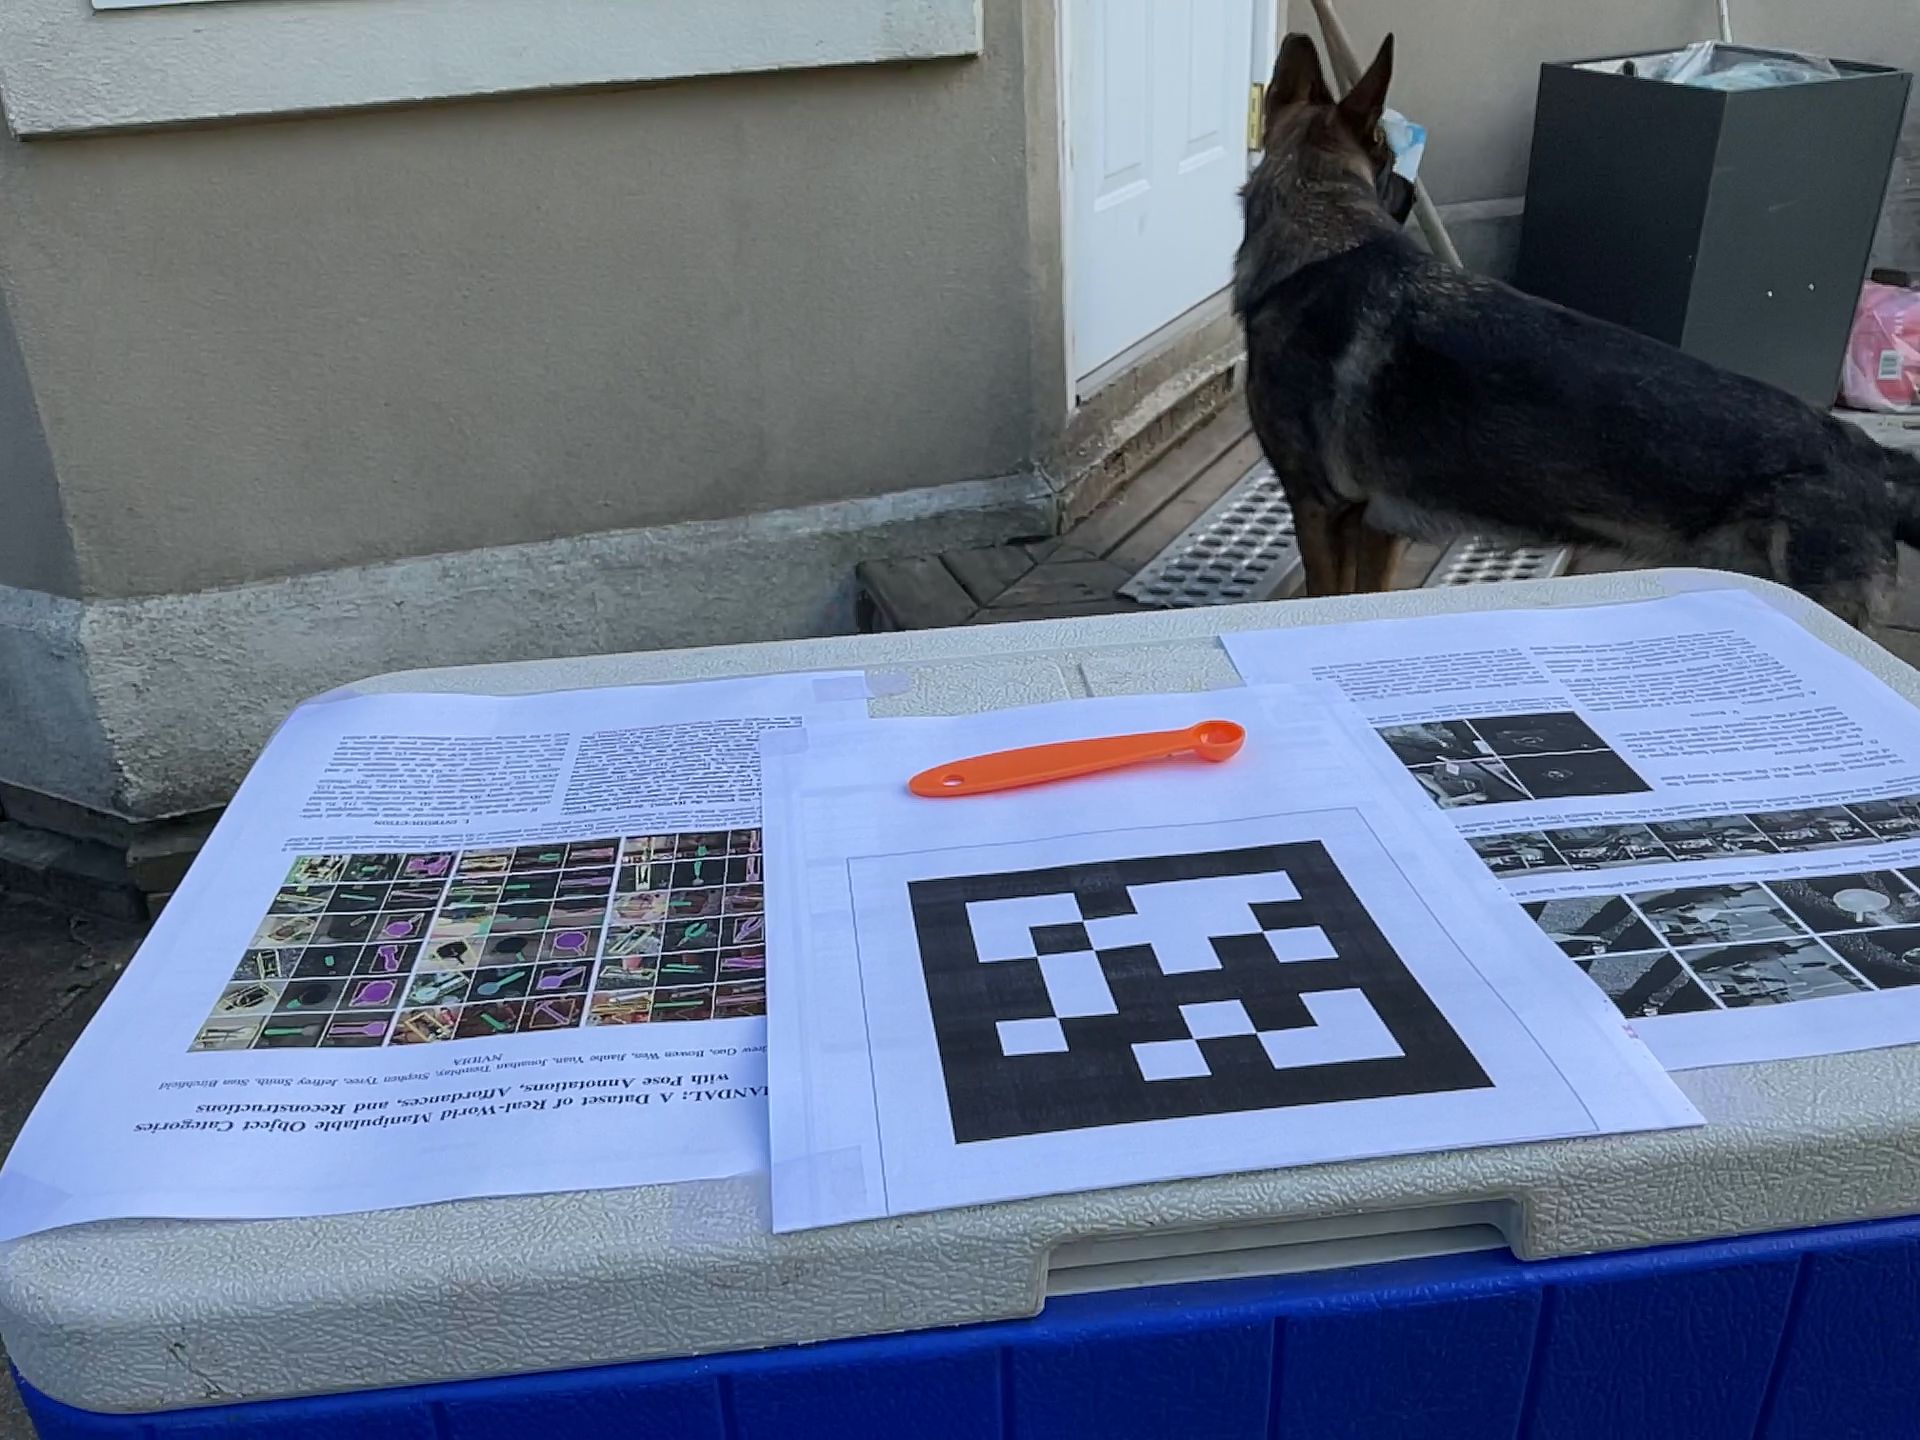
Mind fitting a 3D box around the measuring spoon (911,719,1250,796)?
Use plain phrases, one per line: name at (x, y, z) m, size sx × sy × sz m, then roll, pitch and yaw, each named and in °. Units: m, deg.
measuring spoon at (0.041, 0.016, 0.545) m, size 0.117 × 0.011 × 0.021 m, roll -9°, pitch 26°, yaw -5°
